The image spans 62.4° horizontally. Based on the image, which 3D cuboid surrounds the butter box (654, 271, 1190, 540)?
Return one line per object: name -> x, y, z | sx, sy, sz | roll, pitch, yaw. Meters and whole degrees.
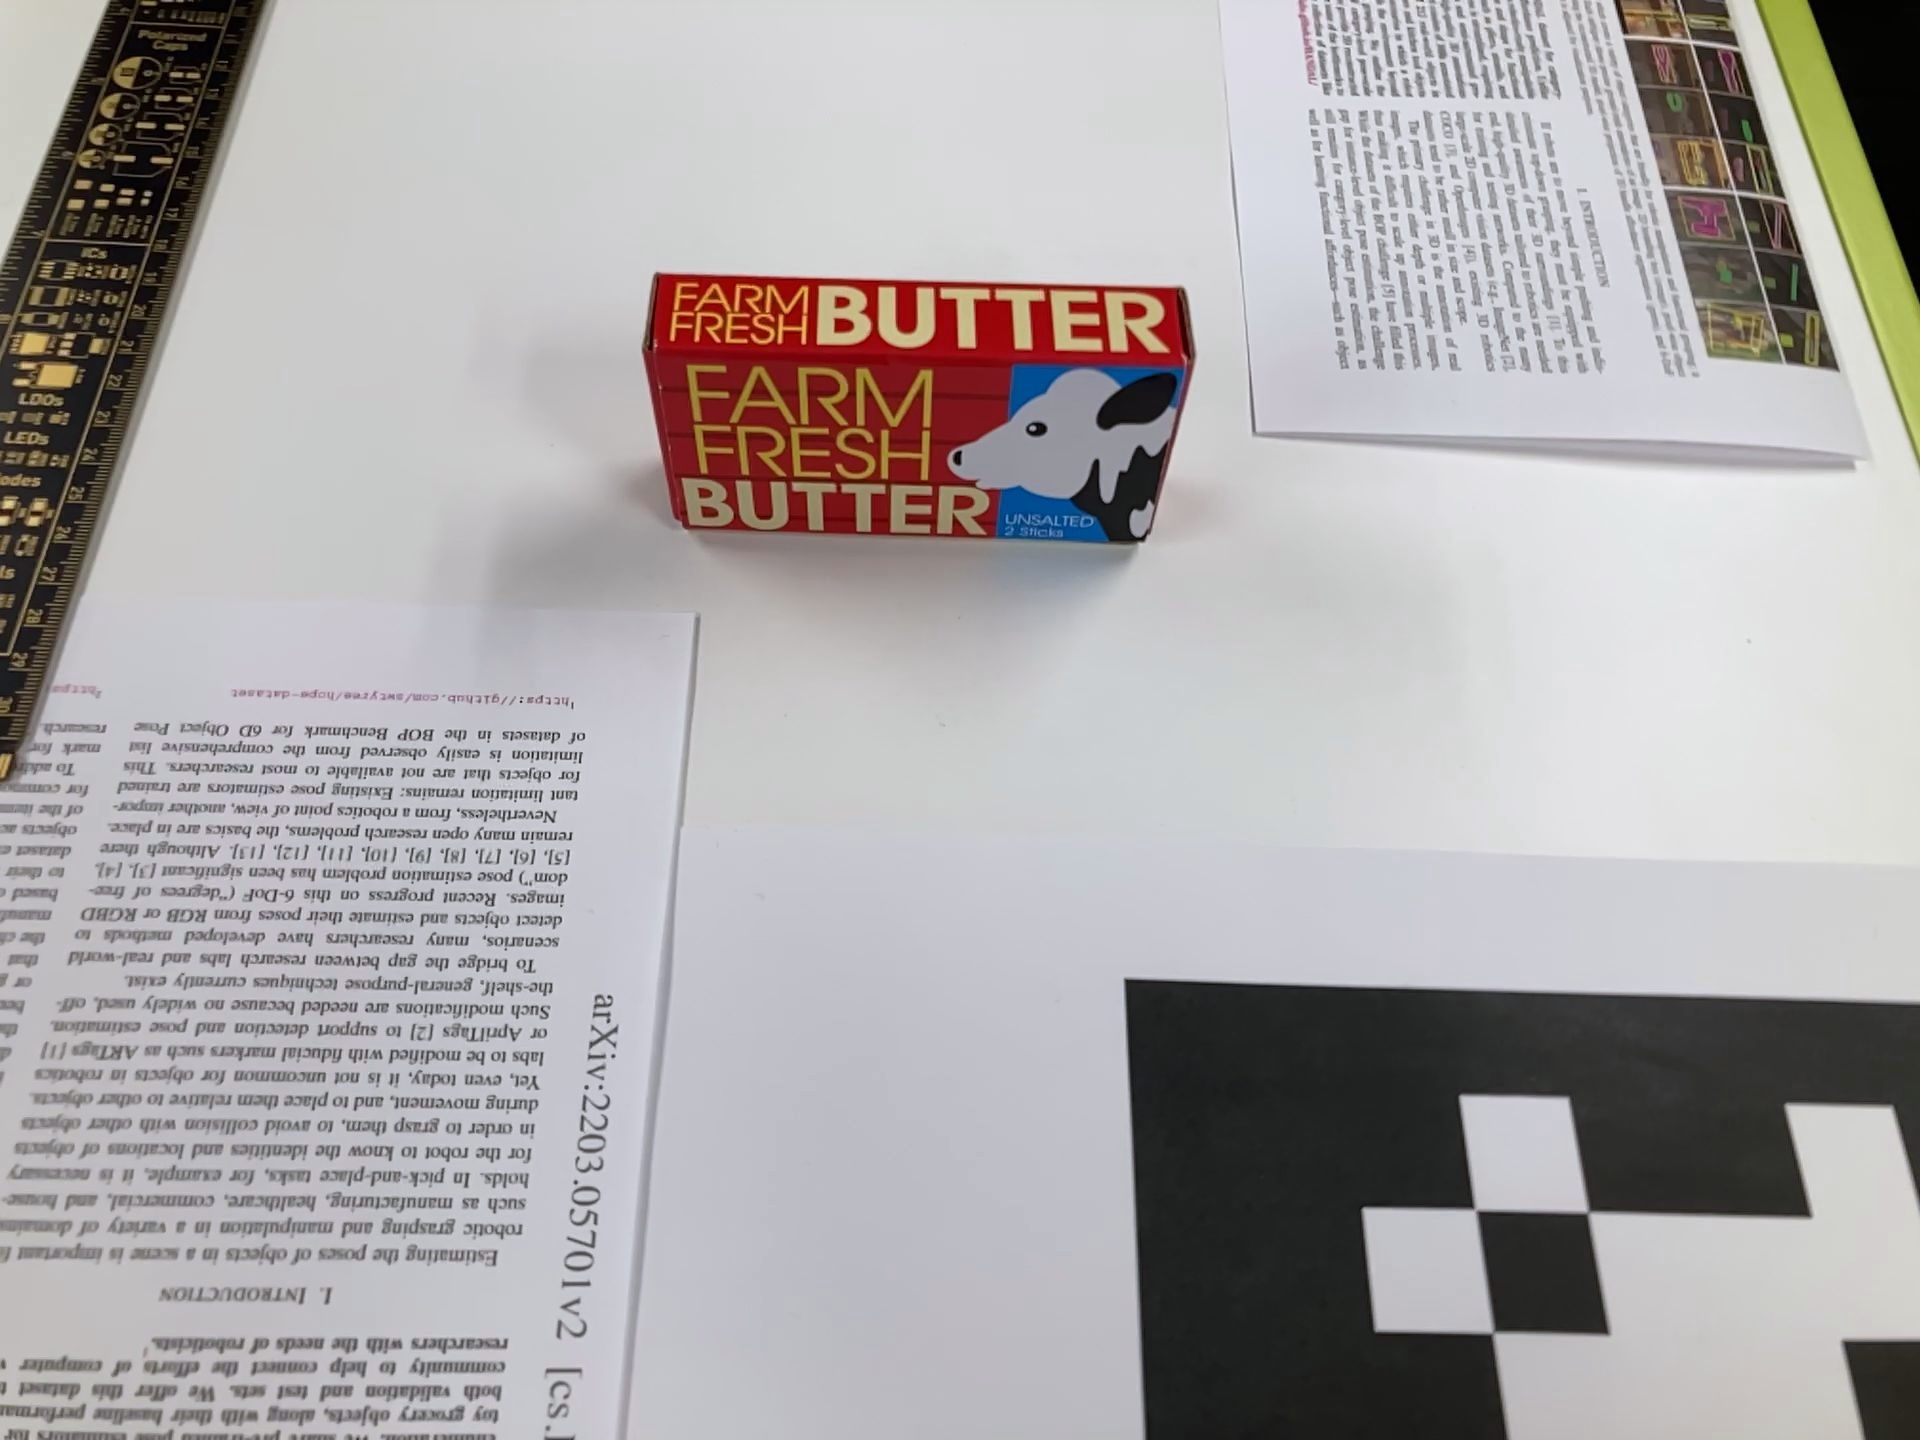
butter box -> -0.008, -0.063, 0.326 | 0.103, 0.053, 0.024 | 2, 56, -3
